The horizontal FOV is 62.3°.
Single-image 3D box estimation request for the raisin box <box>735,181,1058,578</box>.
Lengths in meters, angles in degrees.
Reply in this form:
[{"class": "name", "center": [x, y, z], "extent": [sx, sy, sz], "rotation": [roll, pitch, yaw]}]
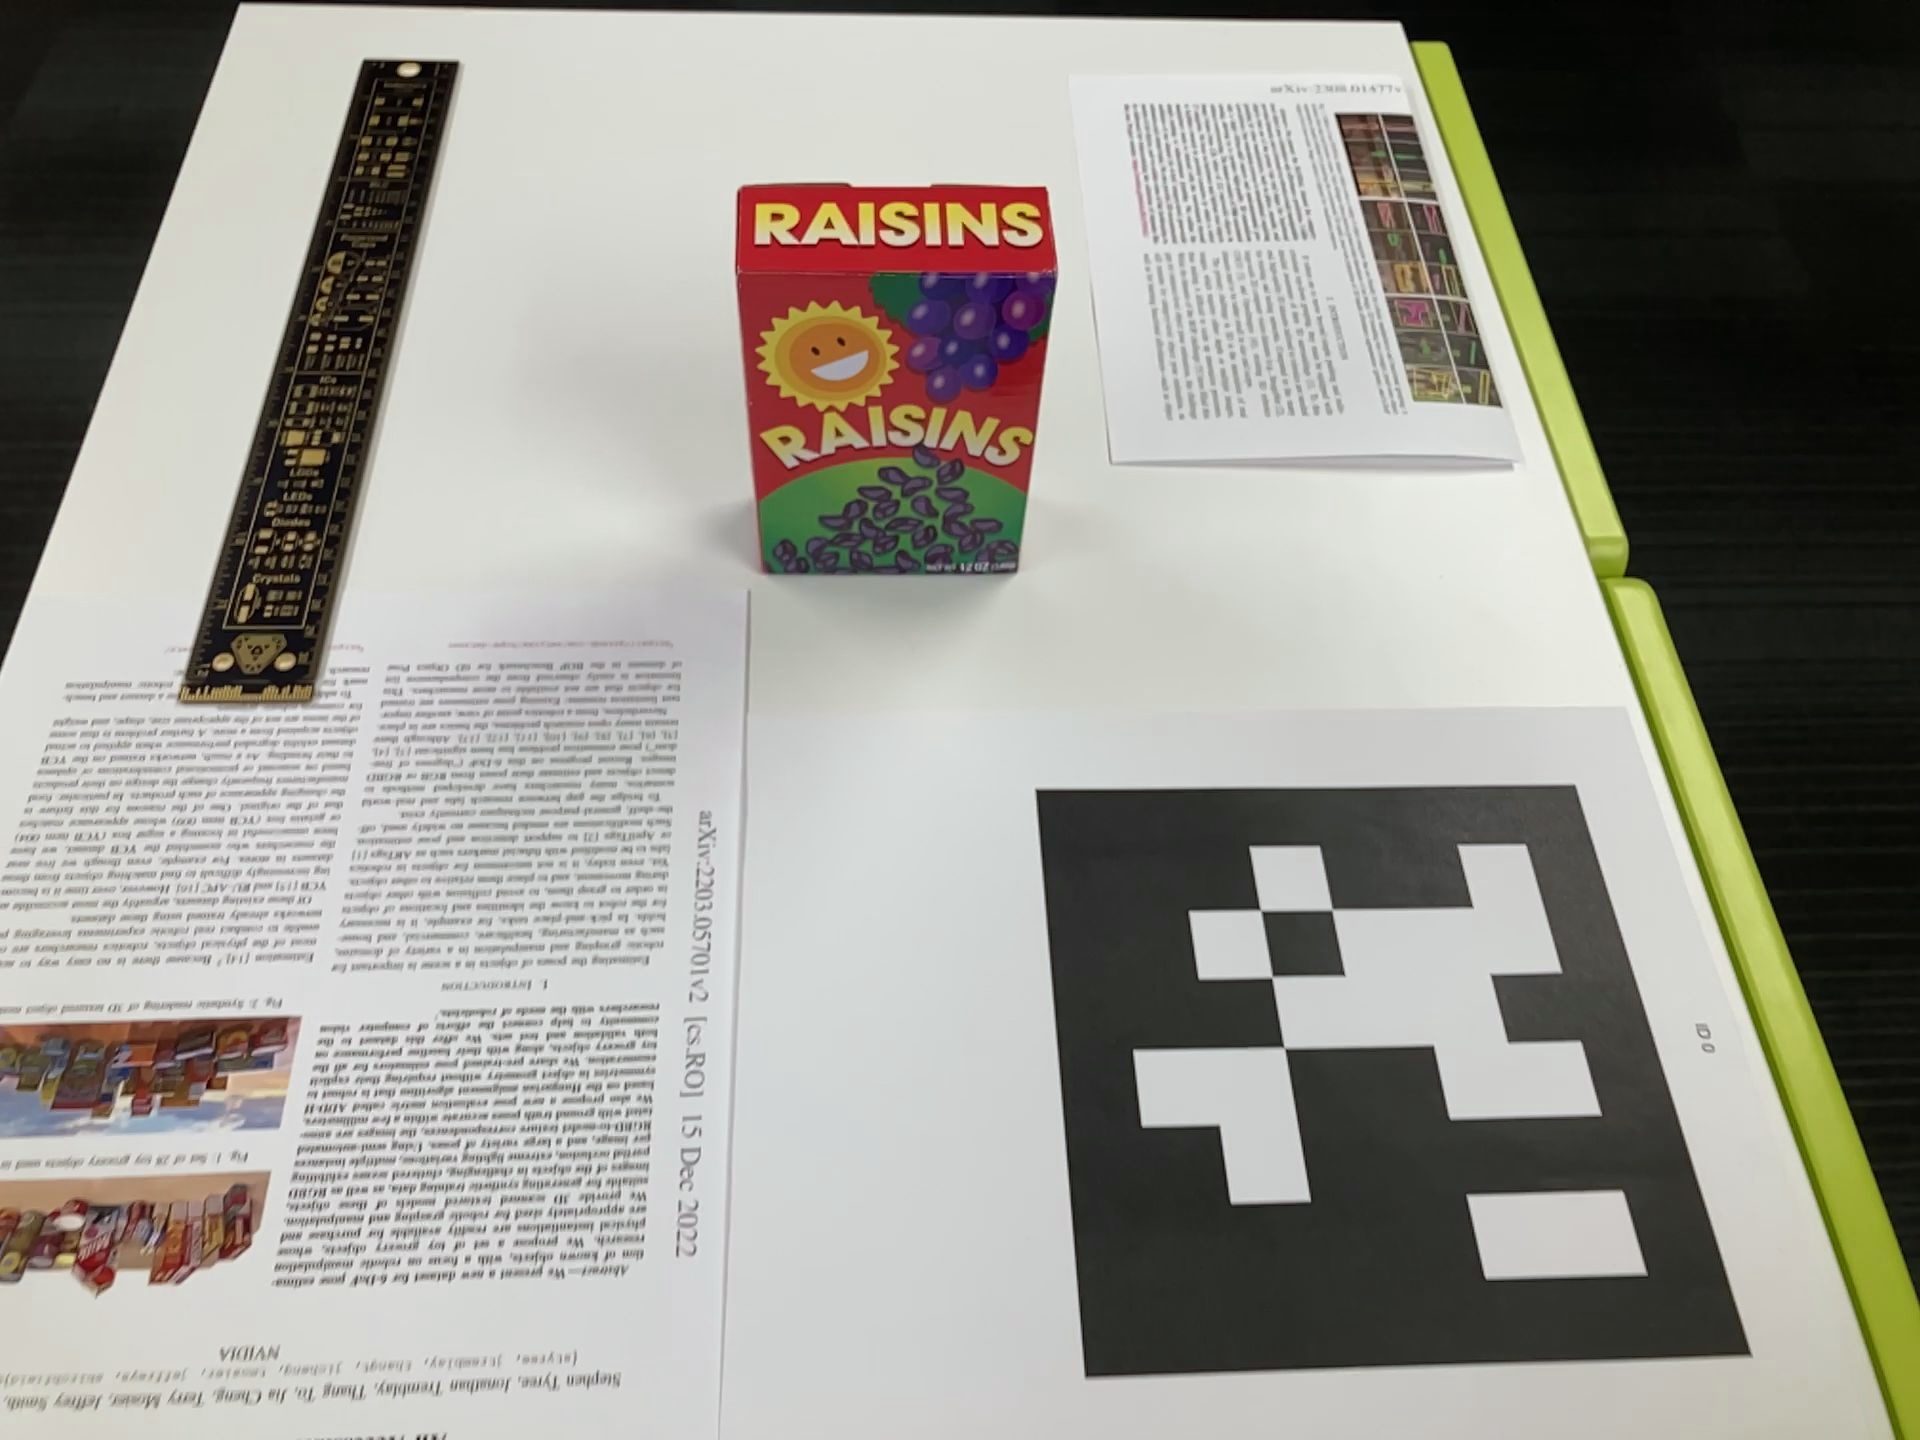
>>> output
[{"class": "raisin box", "center": [-0.019, -0.096, 0.466], "extent": [0.086, 0.123, 0.040], "rotation": [0, 55, -3]}]
